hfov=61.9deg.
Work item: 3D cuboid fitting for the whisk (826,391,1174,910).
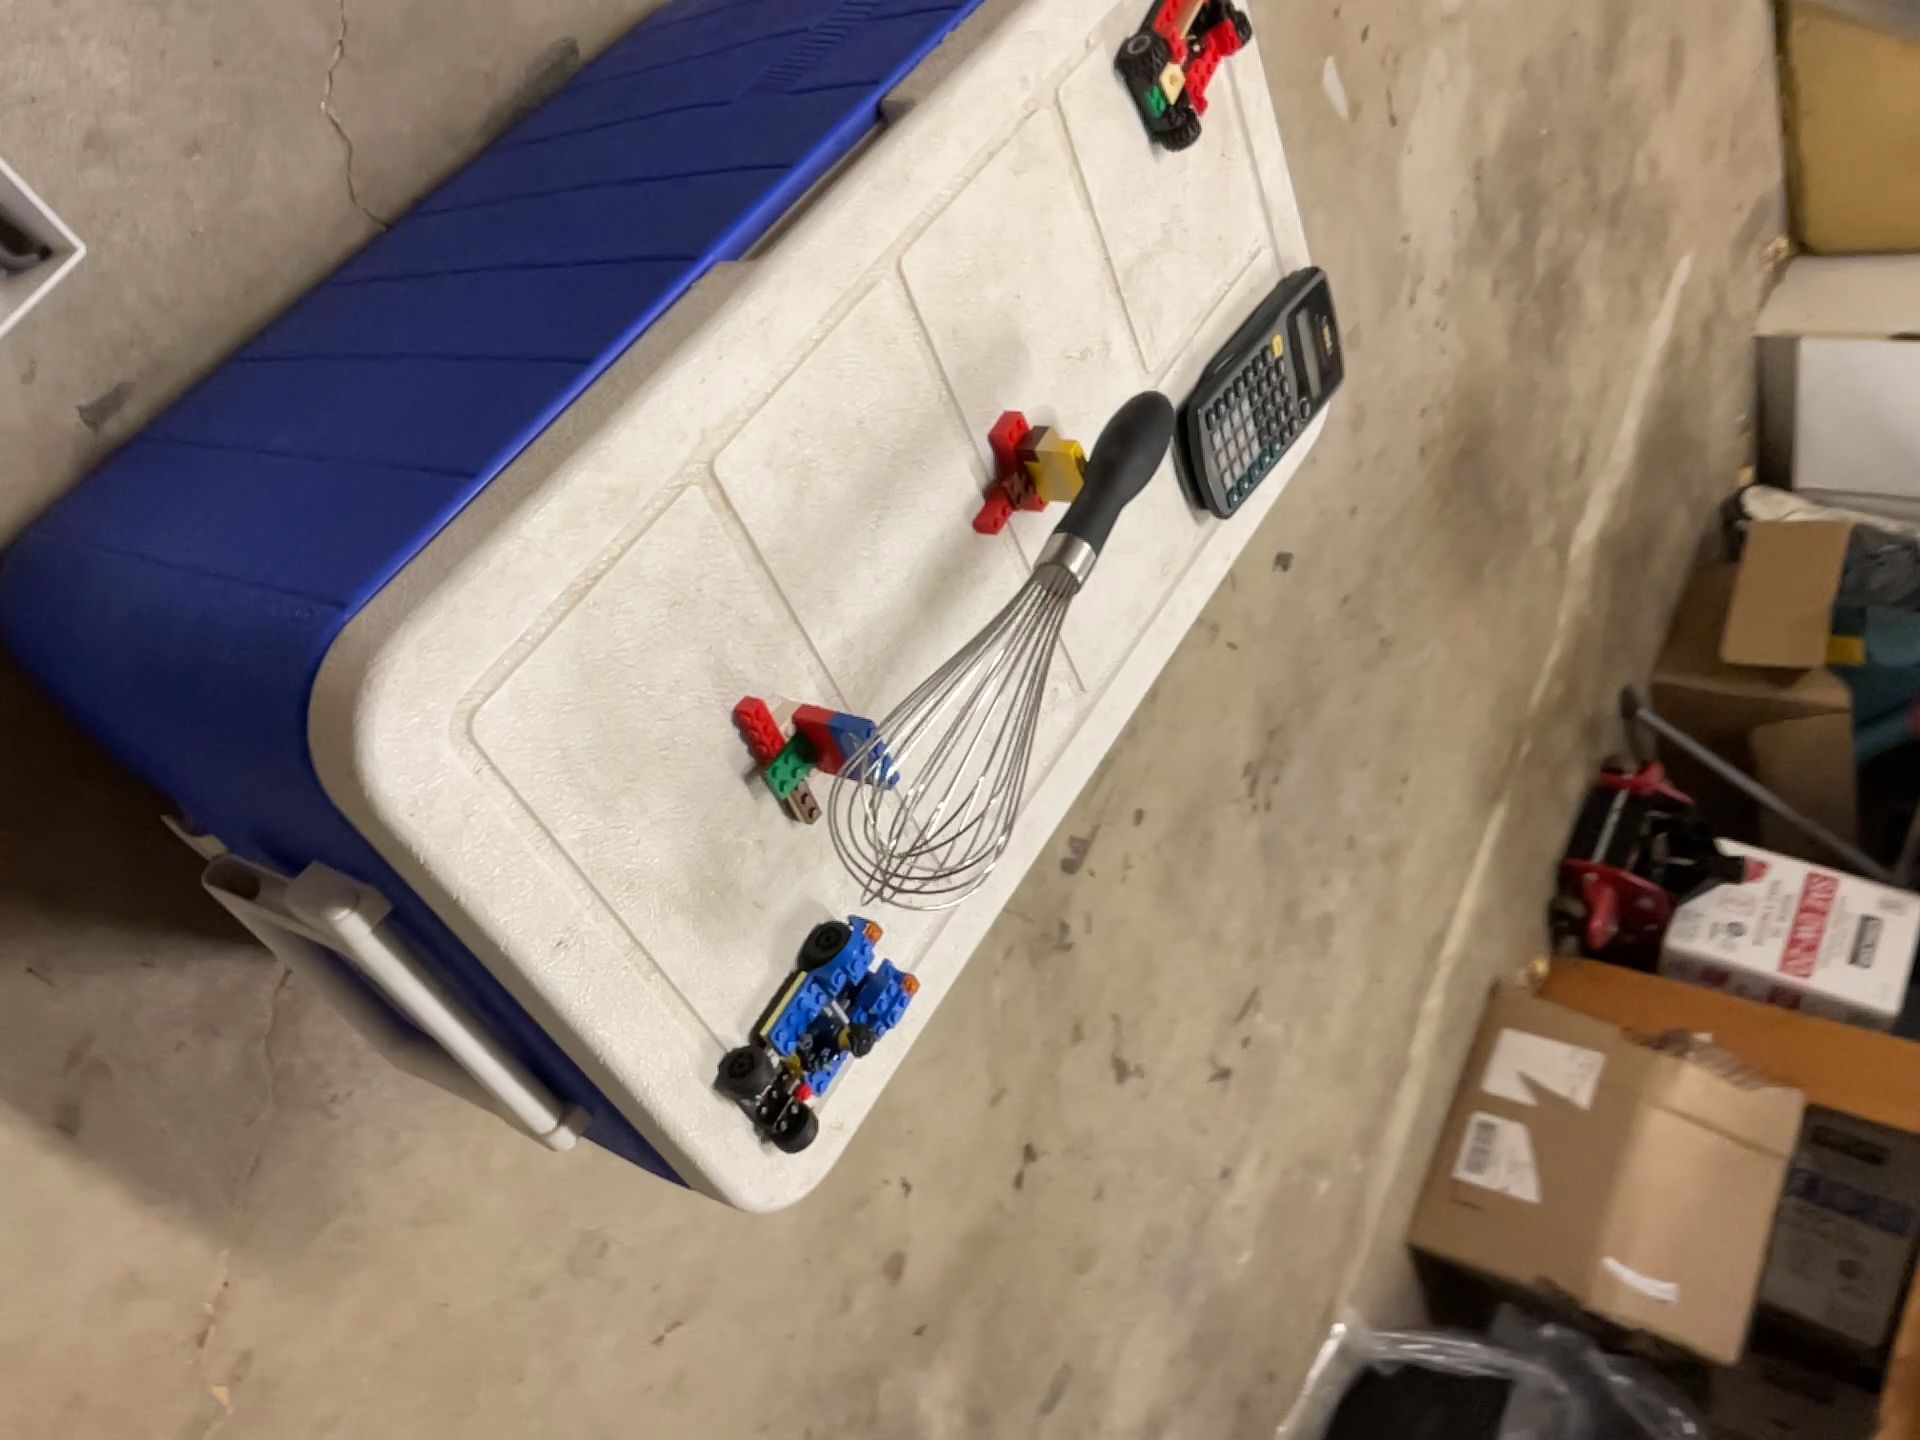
[{"bbox_3d":[0.029,-0.041,0.645,0.070,0.070,0.285,57,49,-37],"label":"whisk"}]
